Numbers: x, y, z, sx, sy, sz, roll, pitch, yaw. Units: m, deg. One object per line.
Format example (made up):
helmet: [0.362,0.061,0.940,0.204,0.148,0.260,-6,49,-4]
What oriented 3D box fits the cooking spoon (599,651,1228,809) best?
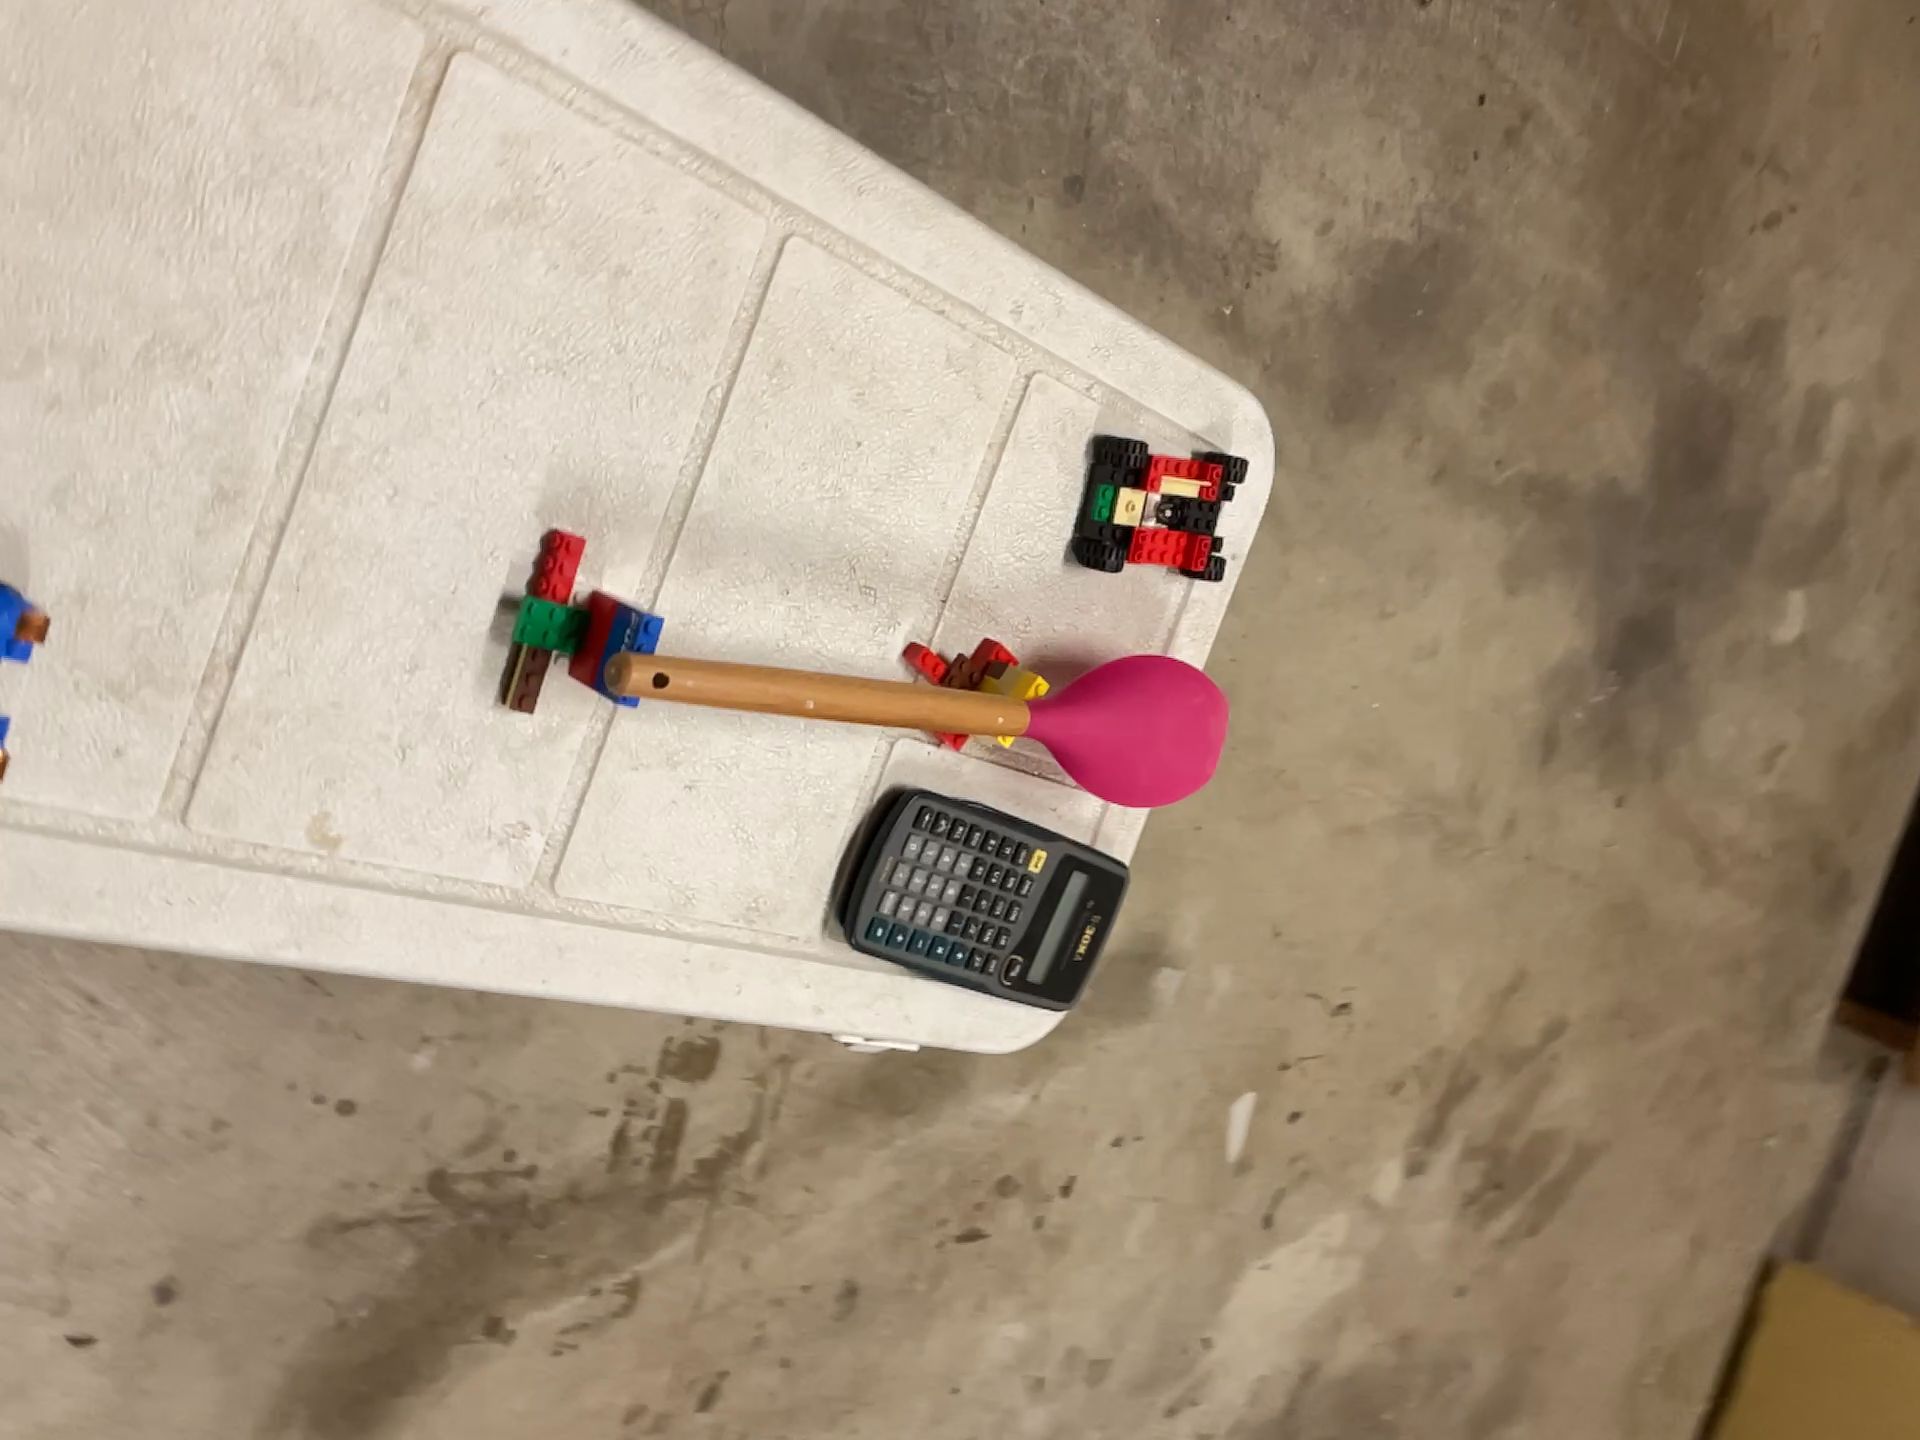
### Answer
cooking spoon: [0.003,-0.003,0.623,0.319,0.017,0.069,6,97,-42]
